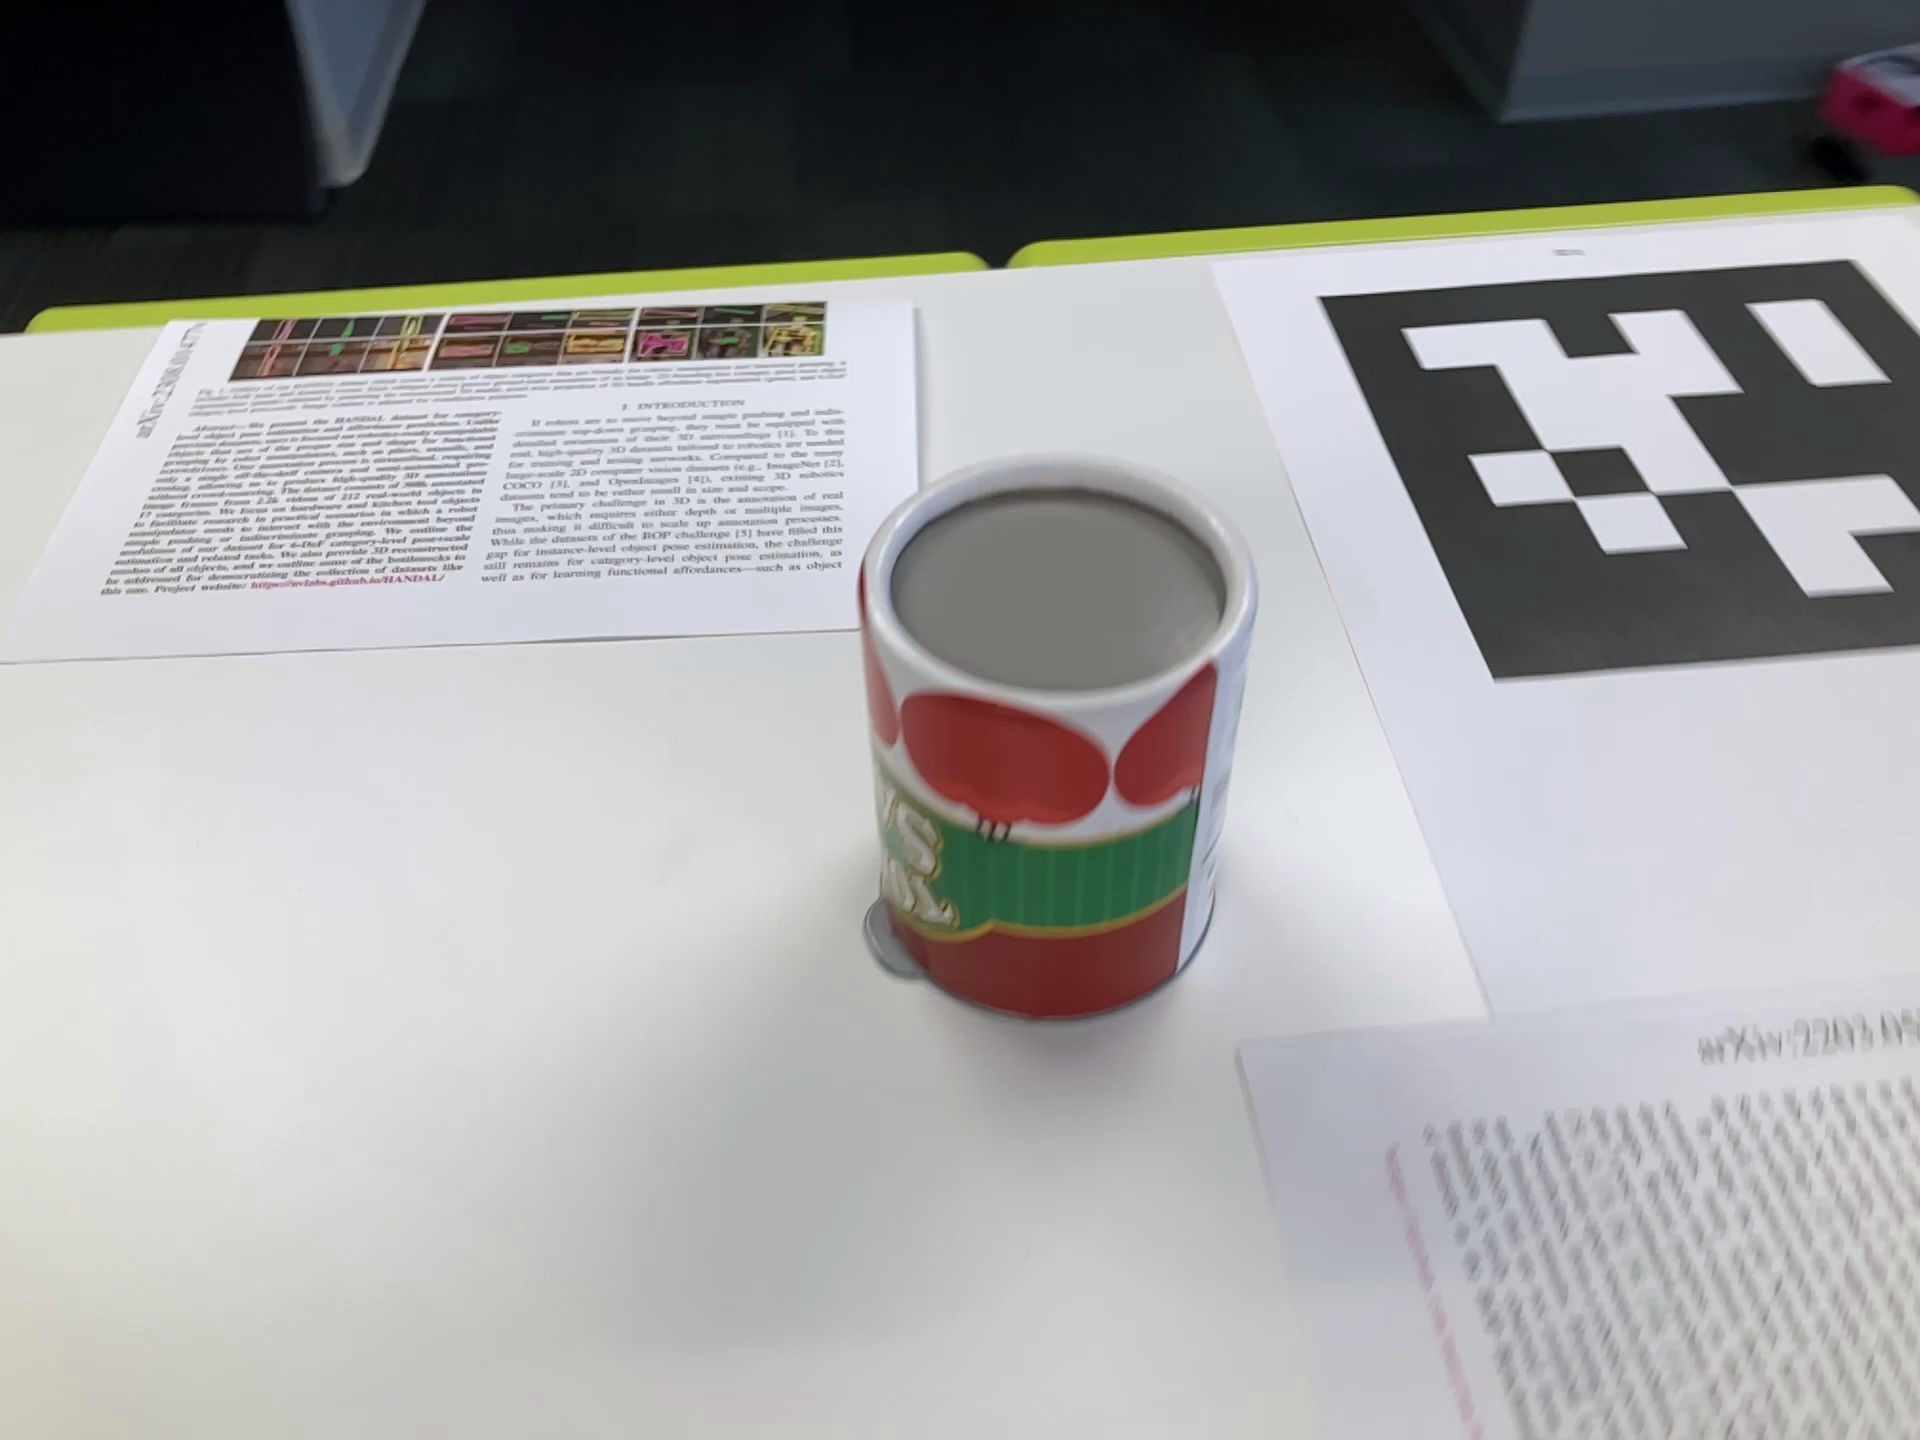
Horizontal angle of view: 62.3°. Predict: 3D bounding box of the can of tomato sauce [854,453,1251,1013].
[{"bbox_3d":[0.014,0.003,0.291,0.071,0.083,0.071,-1,48,1],"label":"can of tomato sauce"}]
